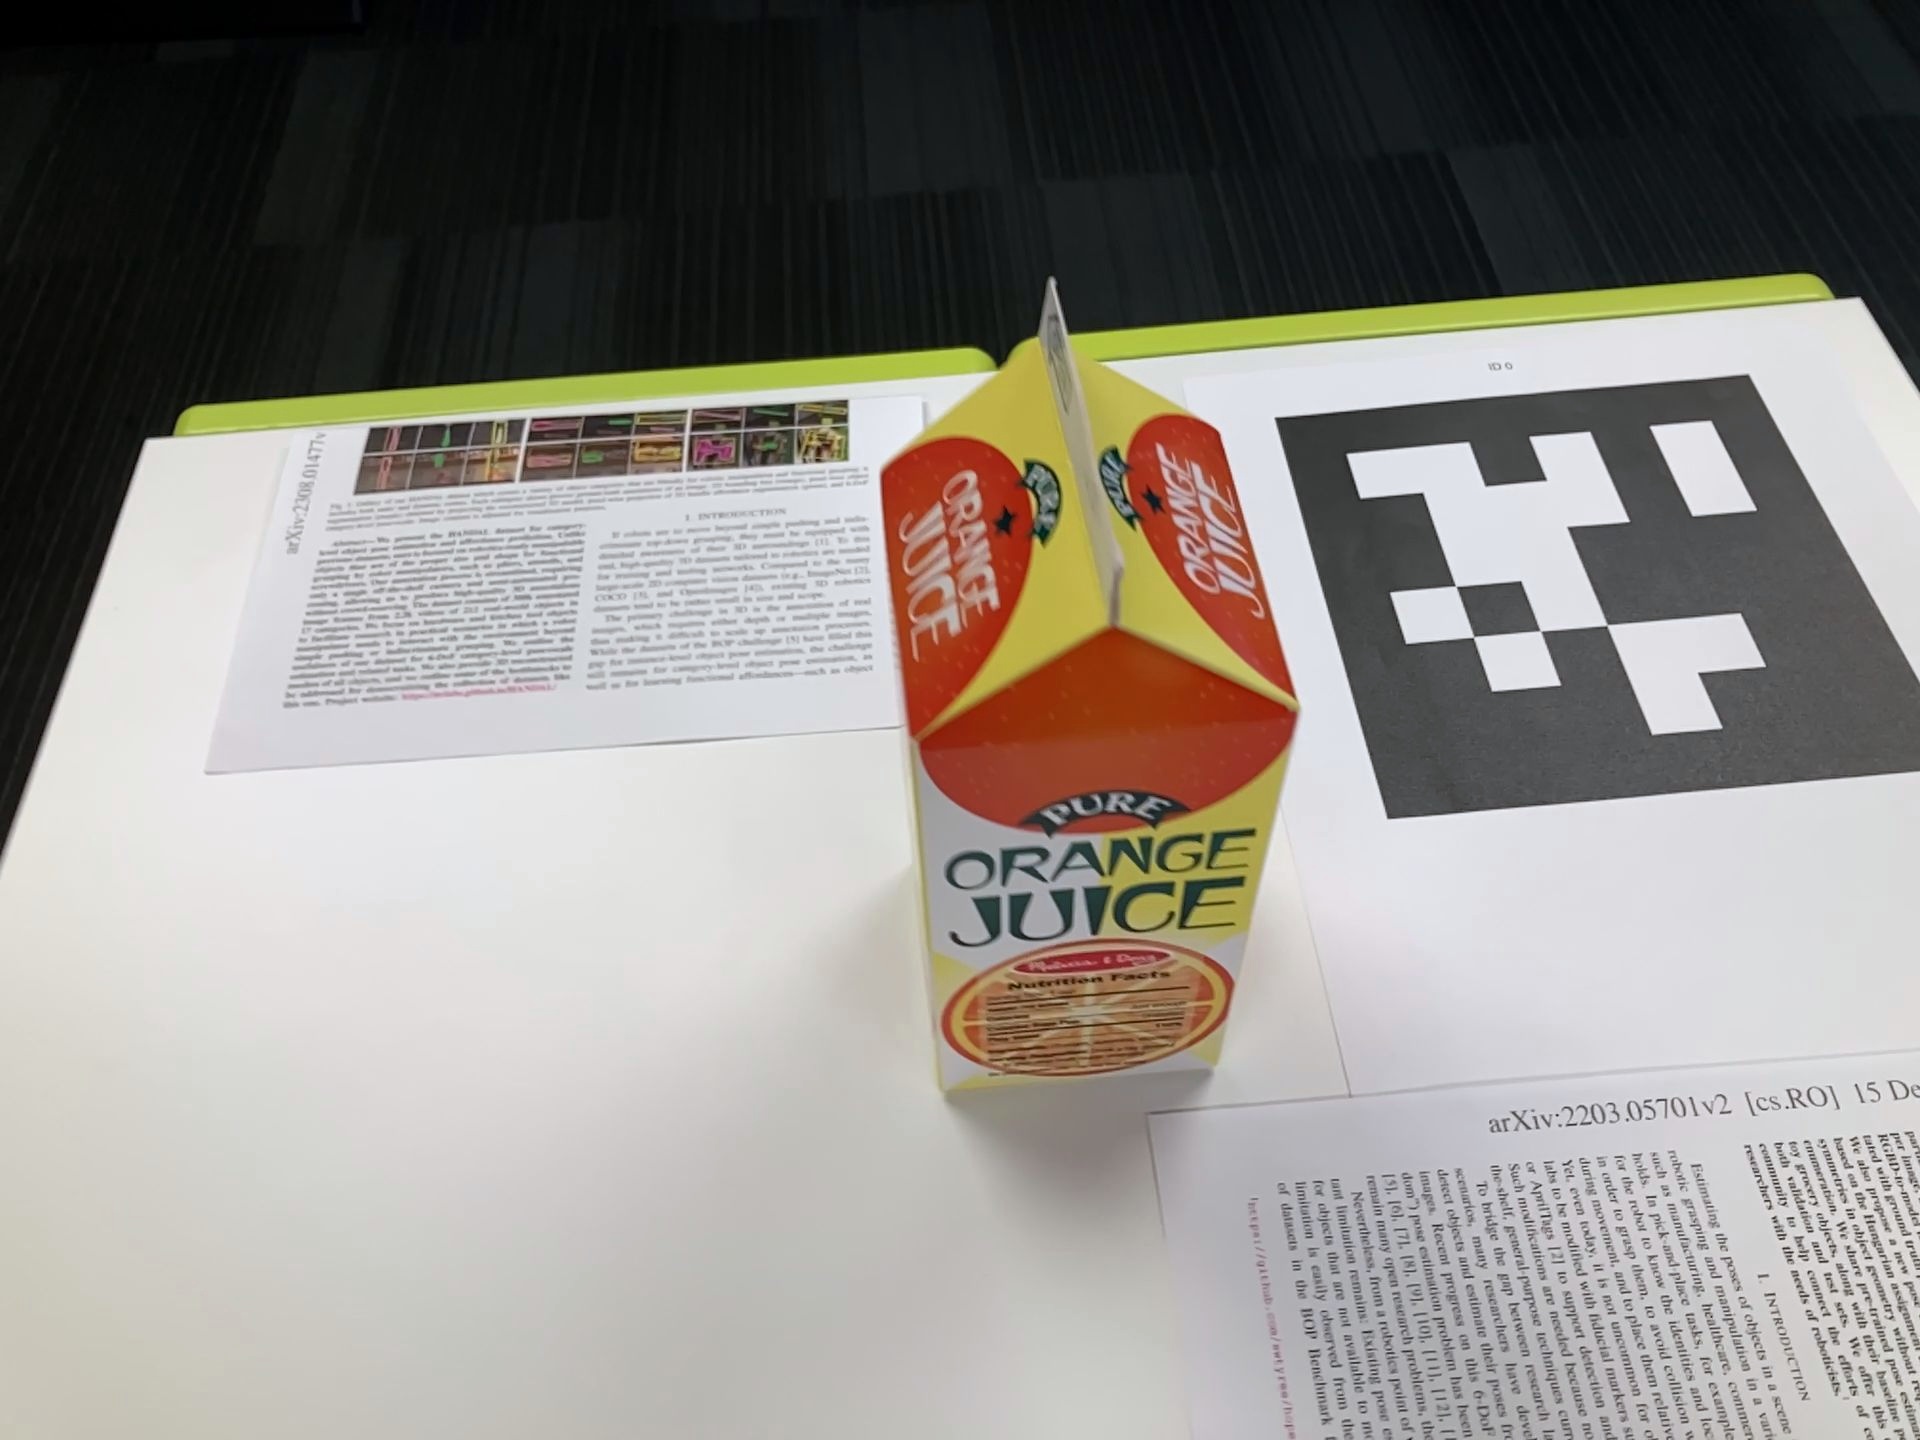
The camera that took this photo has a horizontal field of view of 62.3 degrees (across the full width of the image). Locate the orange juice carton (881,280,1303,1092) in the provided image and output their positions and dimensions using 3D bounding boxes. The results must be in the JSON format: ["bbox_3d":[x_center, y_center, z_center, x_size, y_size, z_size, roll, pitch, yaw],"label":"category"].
[{"bbox_3d":[0.024,0.006,0.343,0.073,0.192,0.072,-5,53,-2],"label":"orange juice carton"}]
